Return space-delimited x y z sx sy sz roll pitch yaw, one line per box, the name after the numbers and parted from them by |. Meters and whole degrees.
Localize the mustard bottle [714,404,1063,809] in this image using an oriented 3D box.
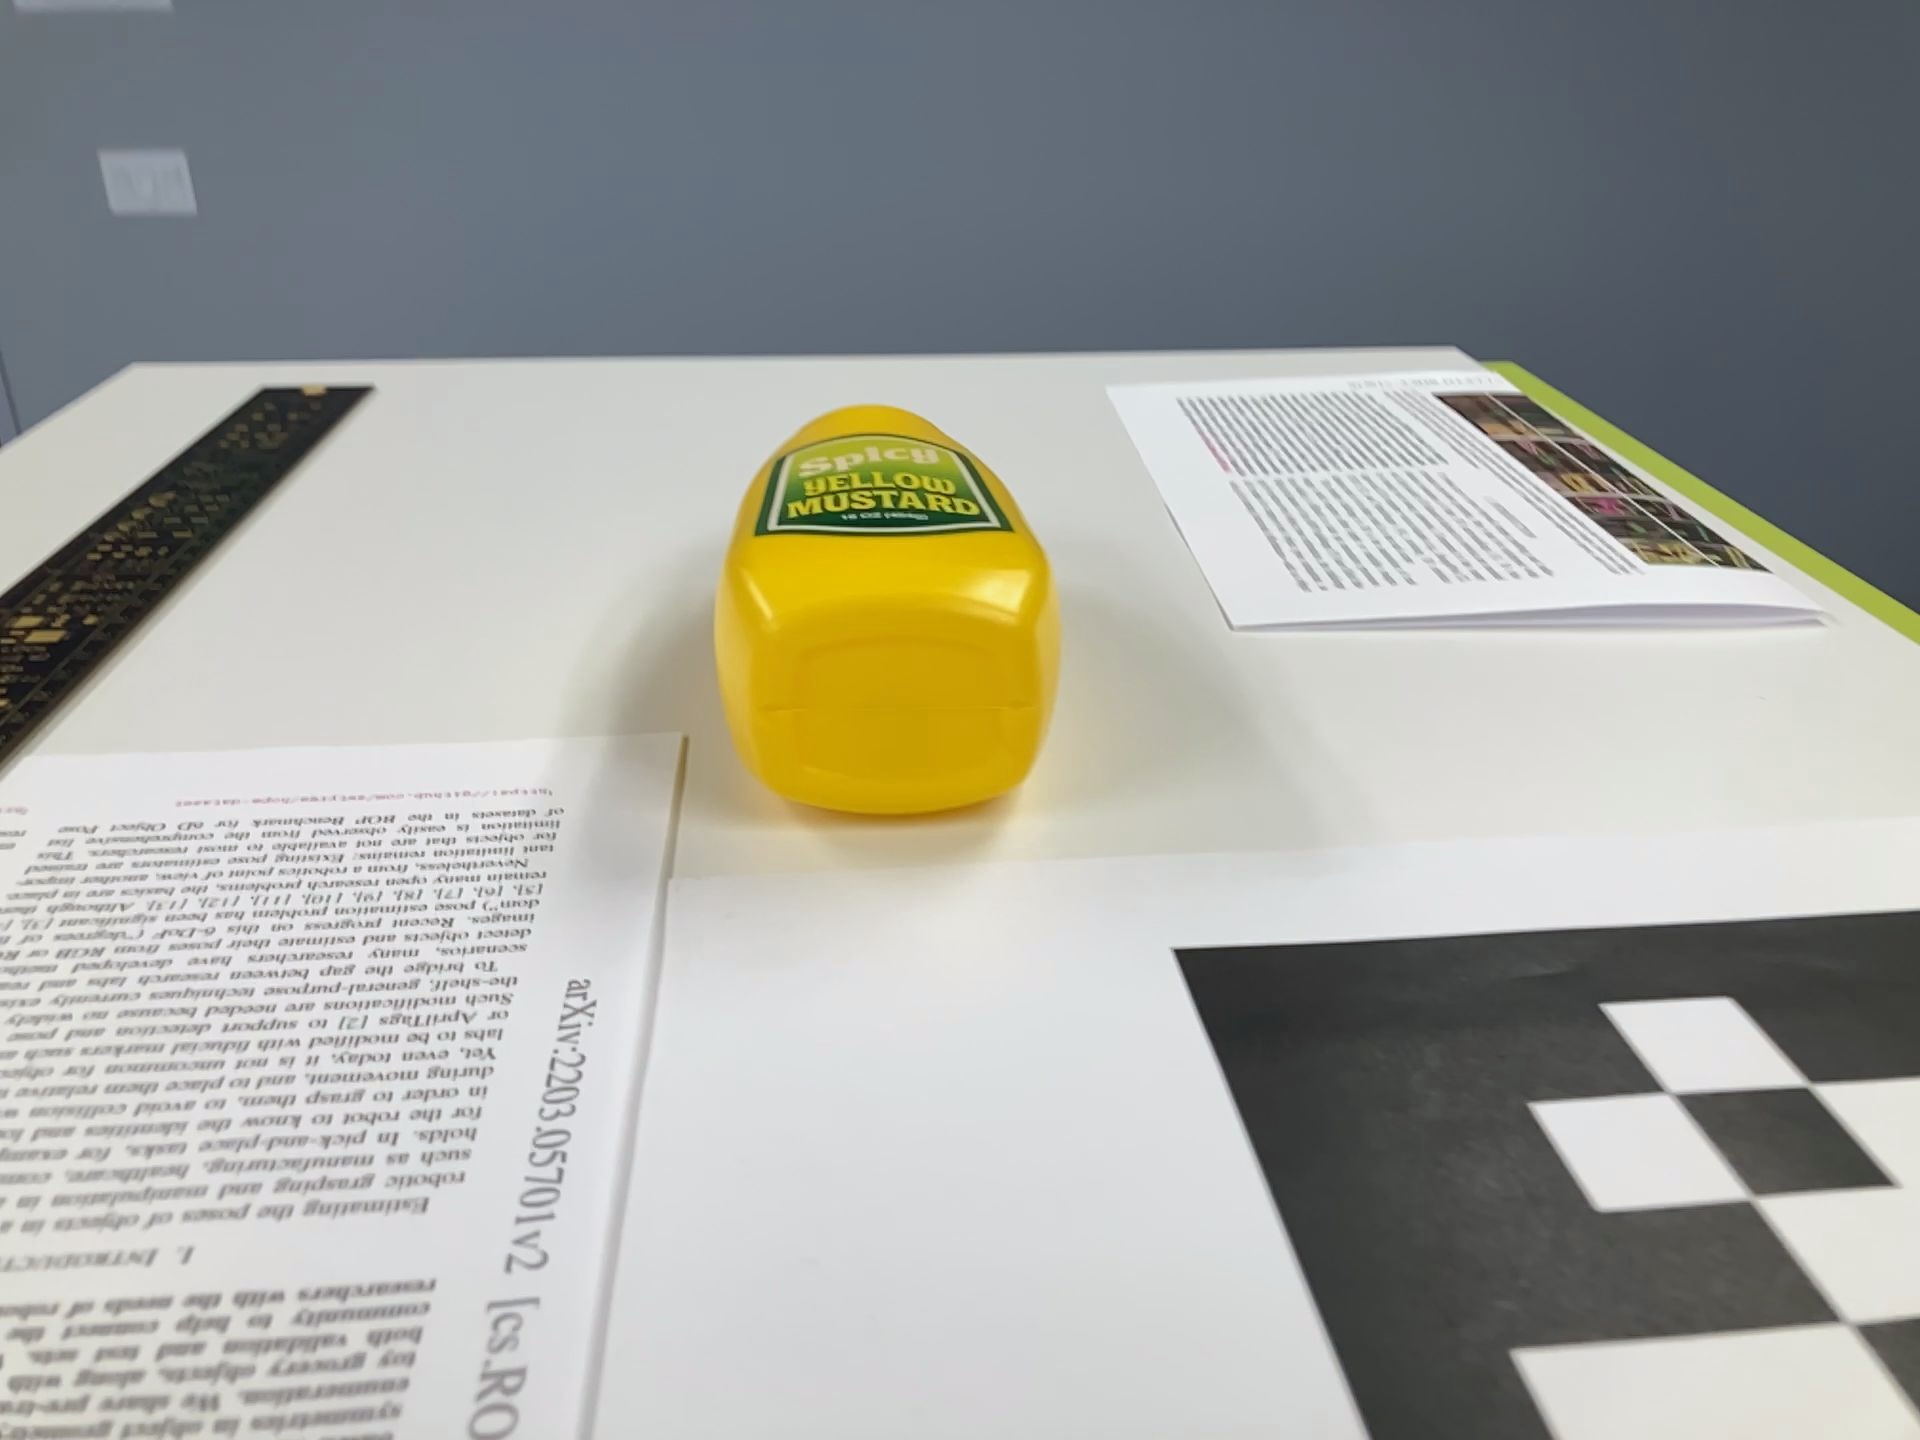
-0.018 -0.037 0.341 0.065 0.049 0.160 -1 26 -6 | mustard bottle
